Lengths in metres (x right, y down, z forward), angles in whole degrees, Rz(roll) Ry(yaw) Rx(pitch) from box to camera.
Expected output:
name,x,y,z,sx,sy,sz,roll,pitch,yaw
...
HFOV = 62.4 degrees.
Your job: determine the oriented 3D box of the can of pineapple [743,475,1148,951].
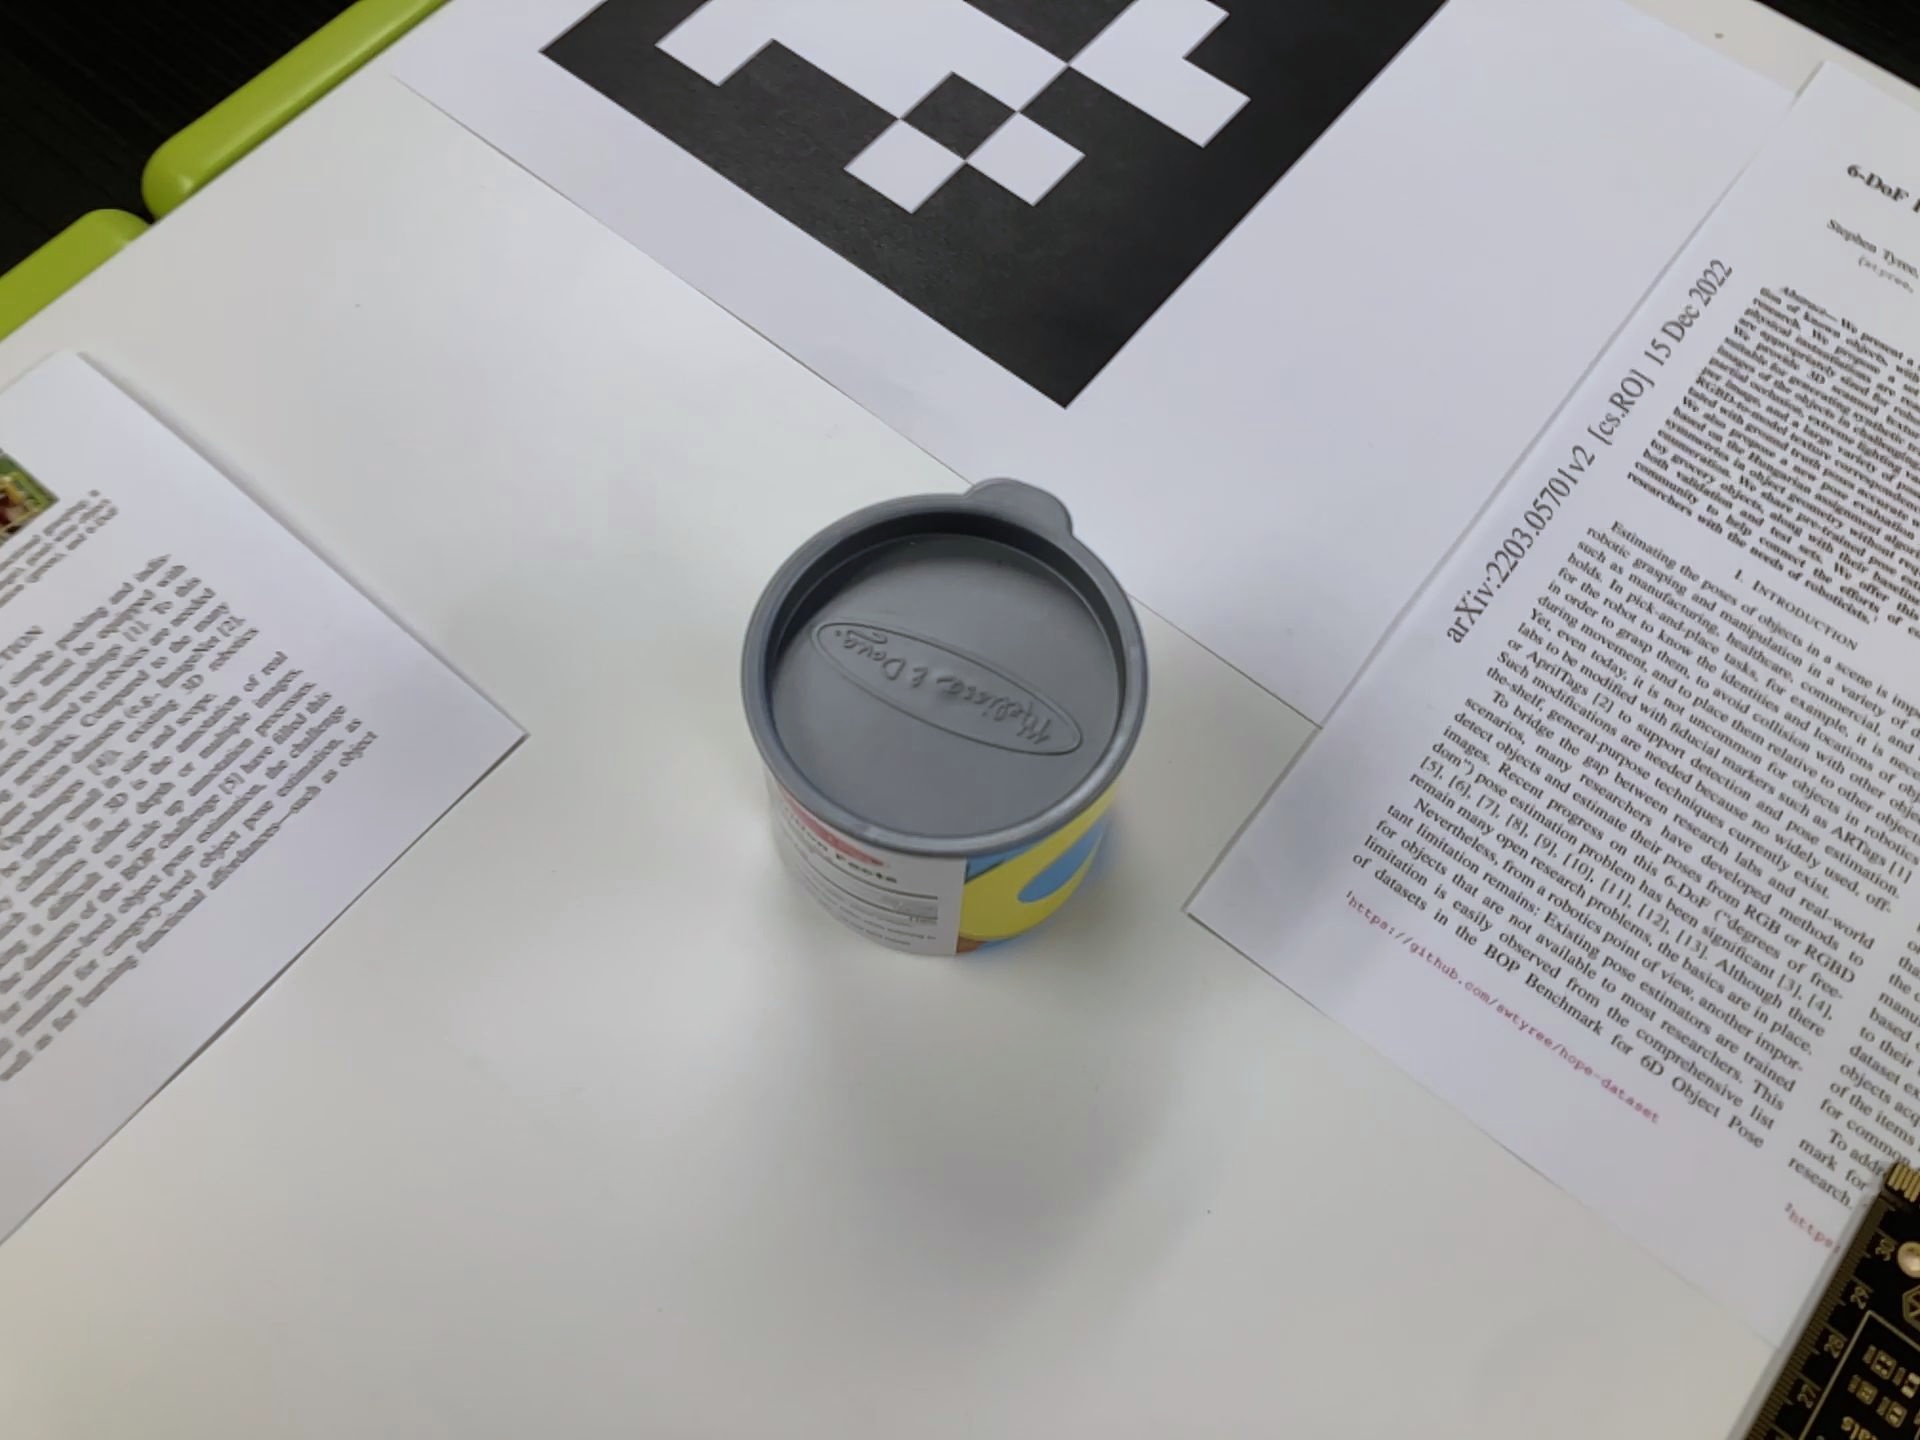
name,x,y,z,sx,sy,sz,roll,pitch,yaw
can of pineapple,-0.002,0.001,0.284,0.071,0.058,0.071,1,66,-2
